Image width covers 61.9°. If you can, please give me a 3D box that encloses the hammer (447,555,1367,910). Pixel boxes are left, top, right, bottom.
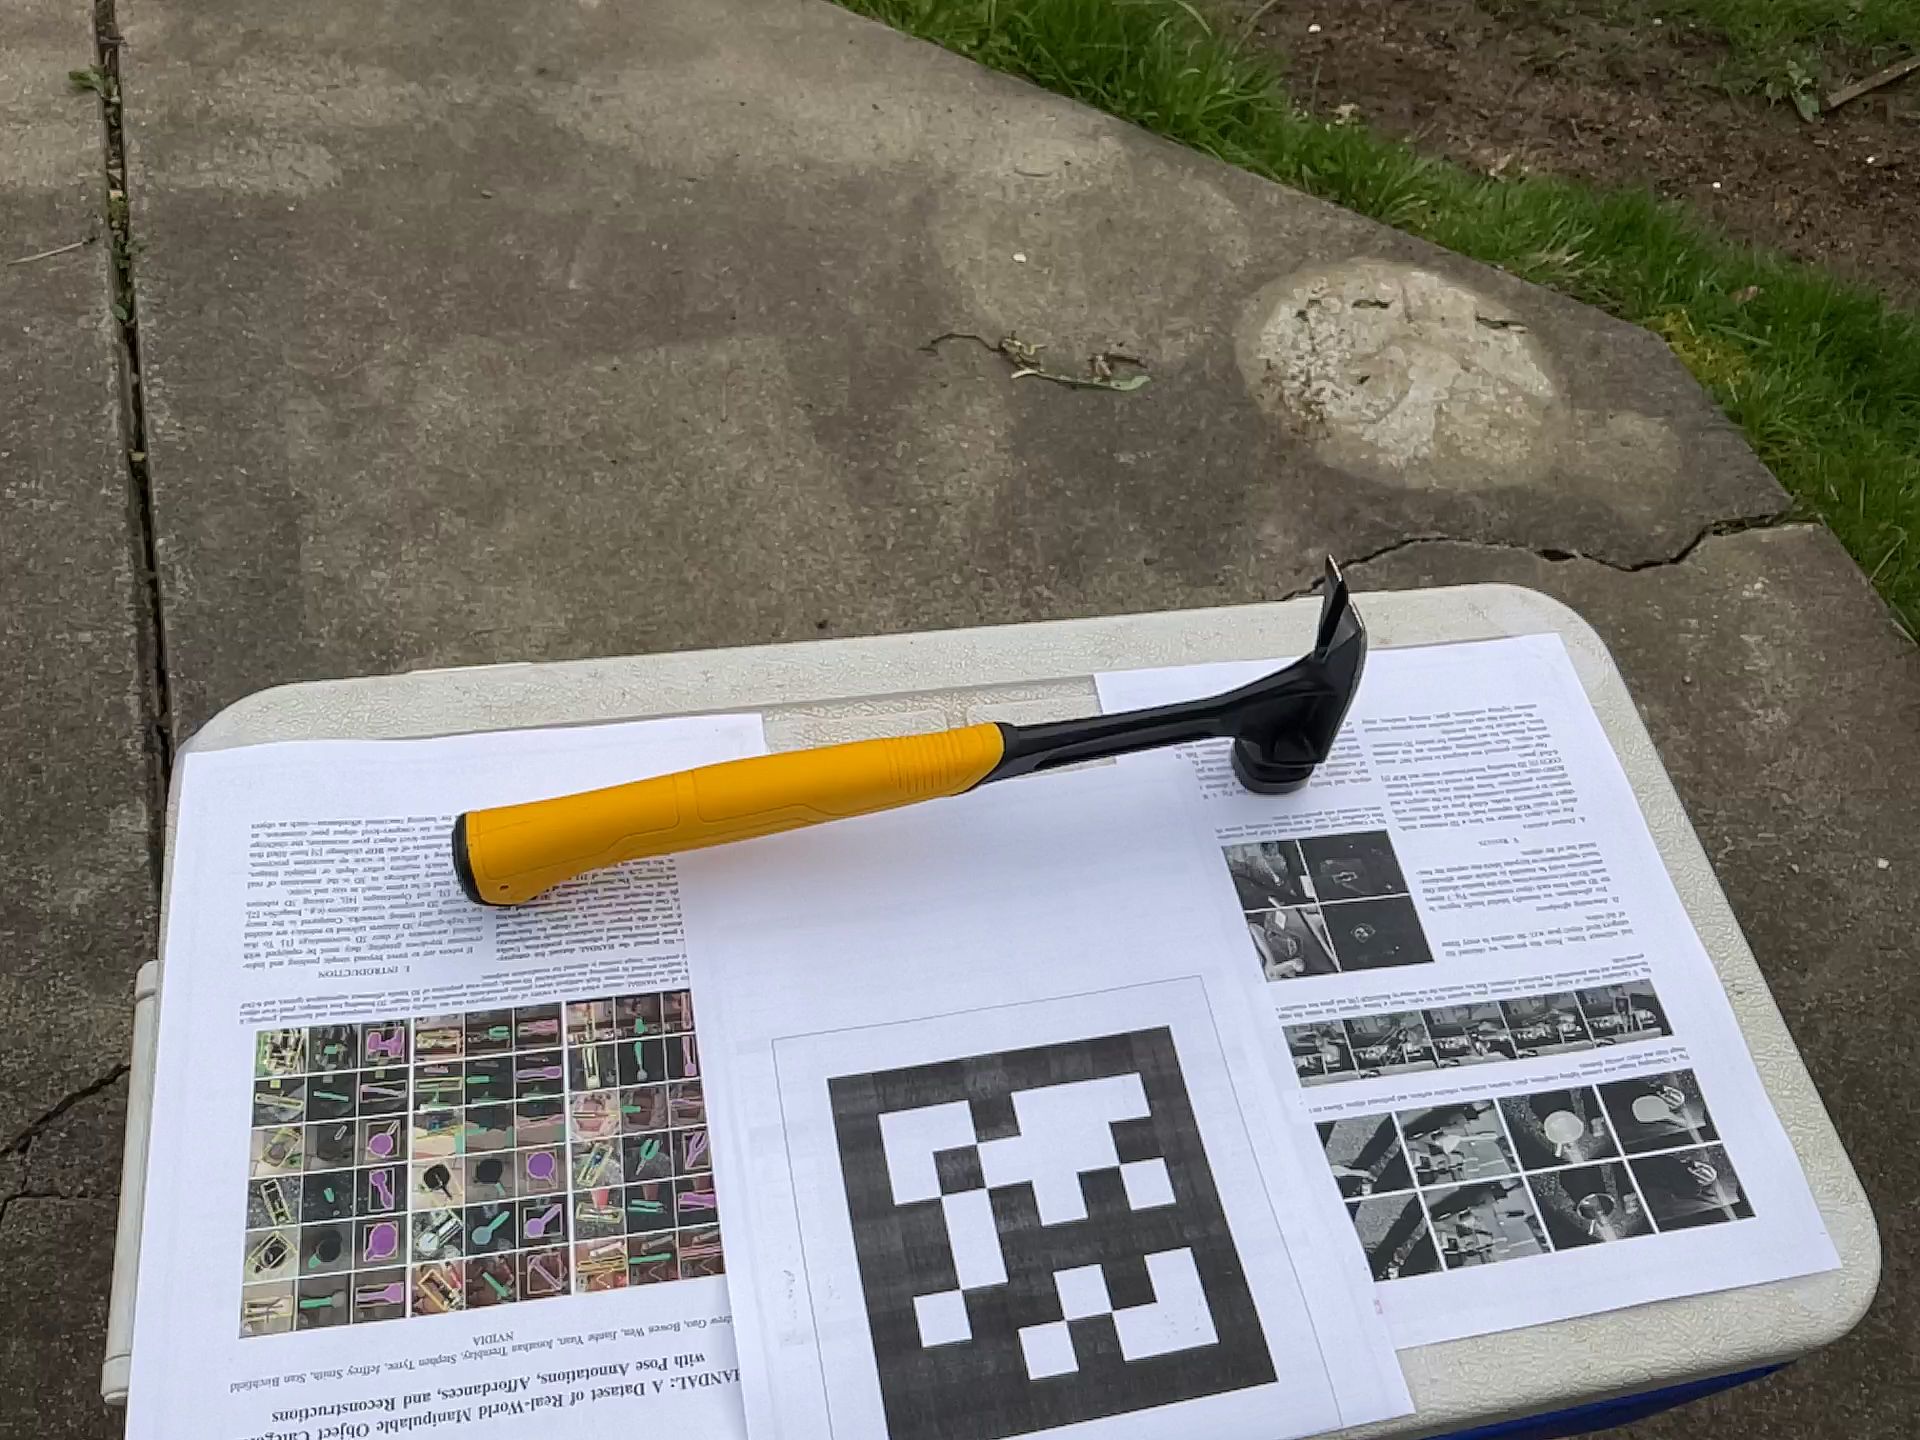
[{"bbox_3d":[-0.017,0.016,0.589,0.336,0.127,0.034,-11,60,-8],"label":"hammer"}]
